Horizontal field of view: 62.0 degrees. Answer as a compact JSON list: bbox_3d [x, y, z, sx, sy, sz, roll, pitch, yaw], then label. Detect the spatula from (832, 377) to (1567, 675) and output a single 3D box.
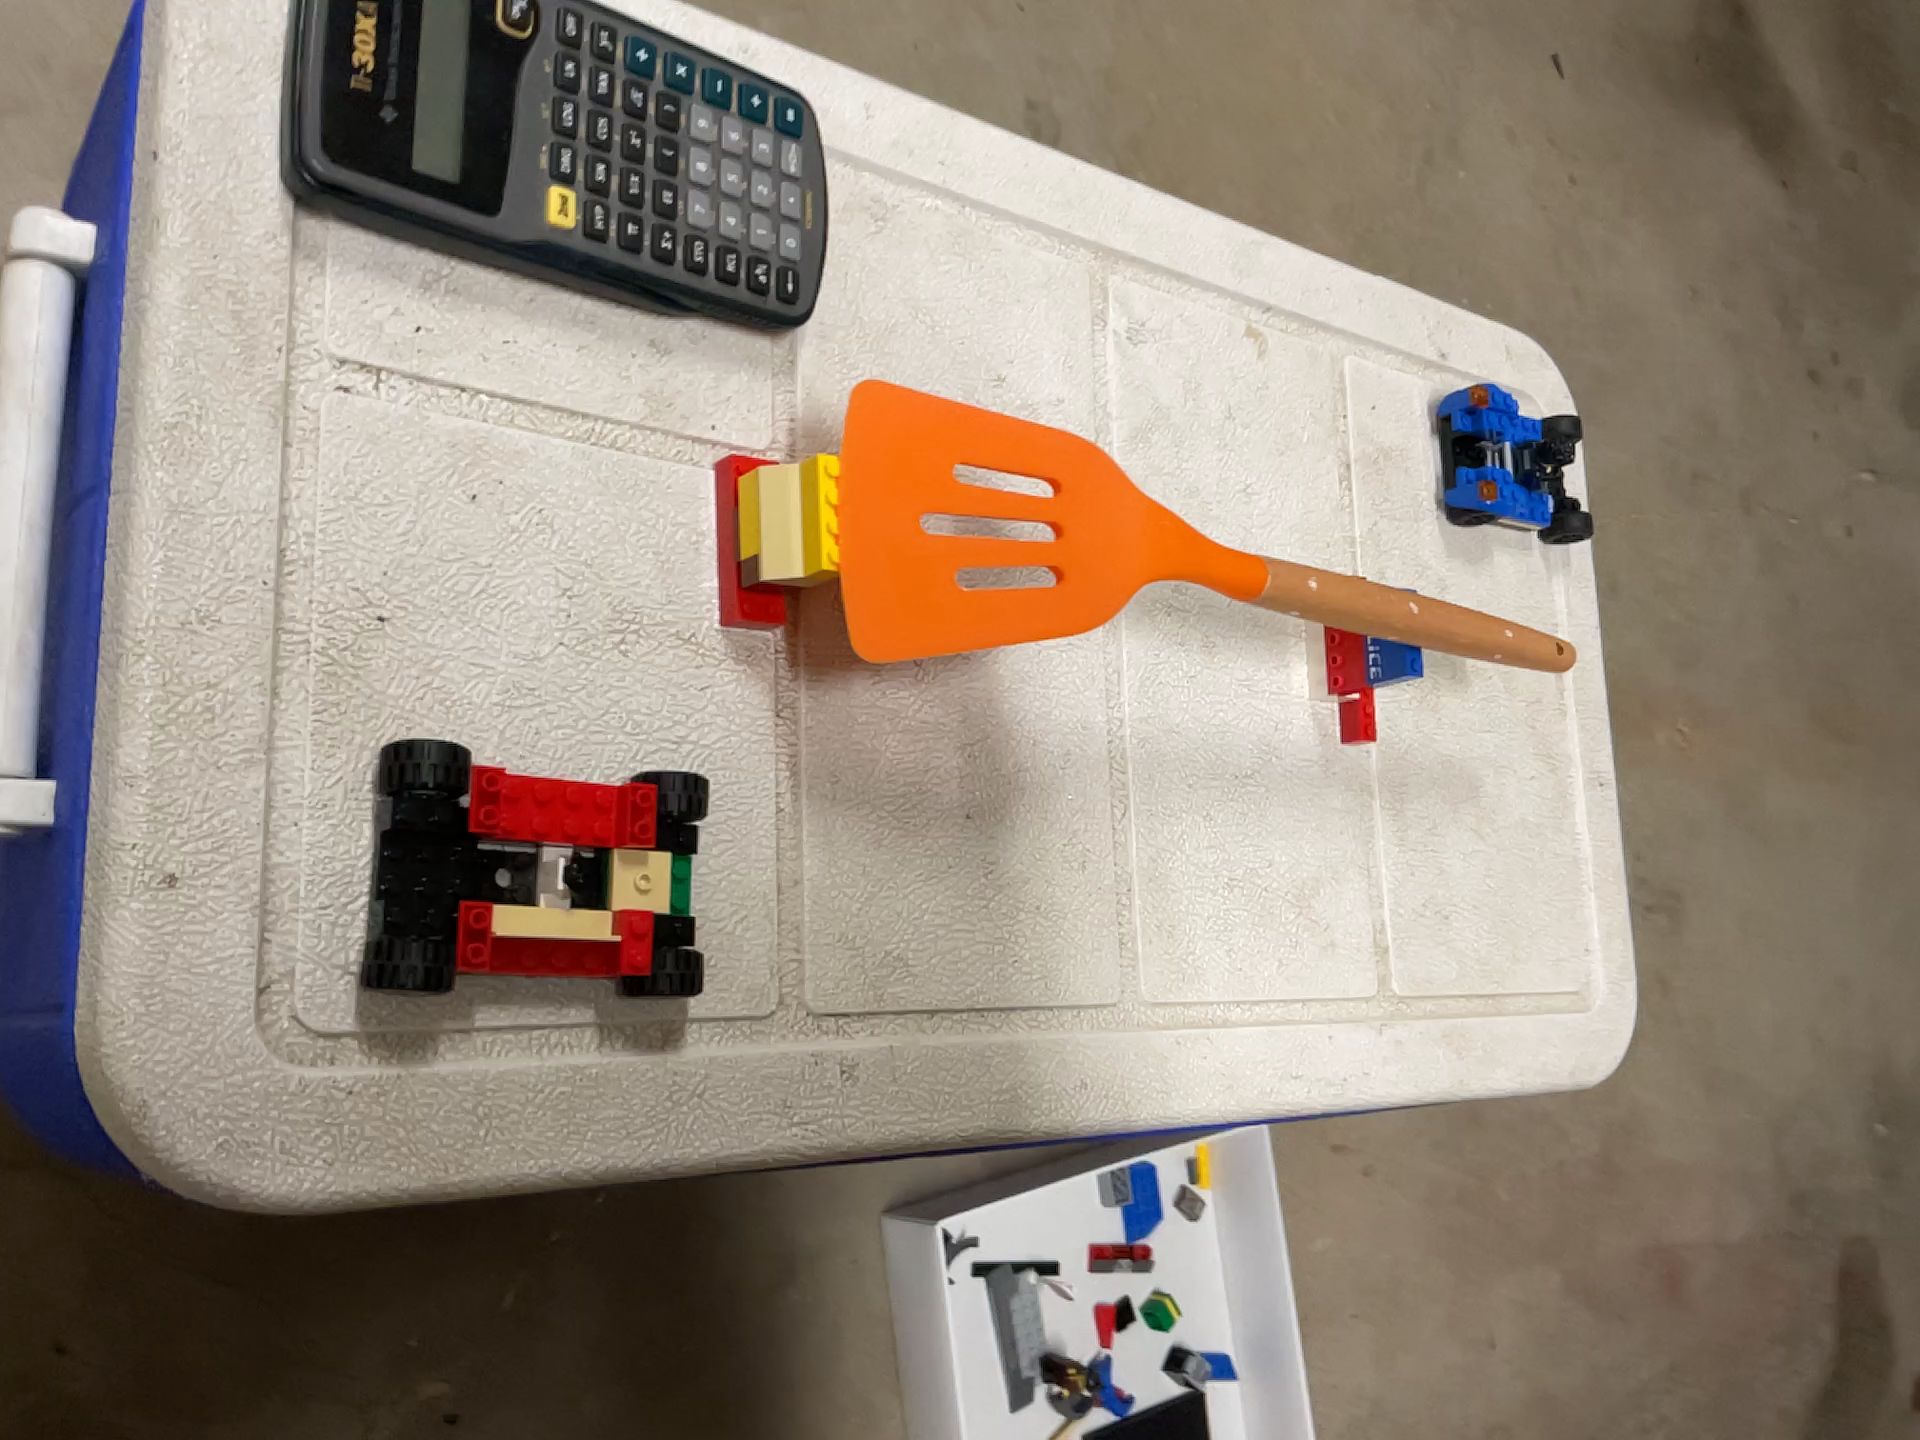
[{"bbox_3d":[0.101,-0.040,0.517,0.322,0.041,0.081,8,75,-40],"label":"spatula"}]
